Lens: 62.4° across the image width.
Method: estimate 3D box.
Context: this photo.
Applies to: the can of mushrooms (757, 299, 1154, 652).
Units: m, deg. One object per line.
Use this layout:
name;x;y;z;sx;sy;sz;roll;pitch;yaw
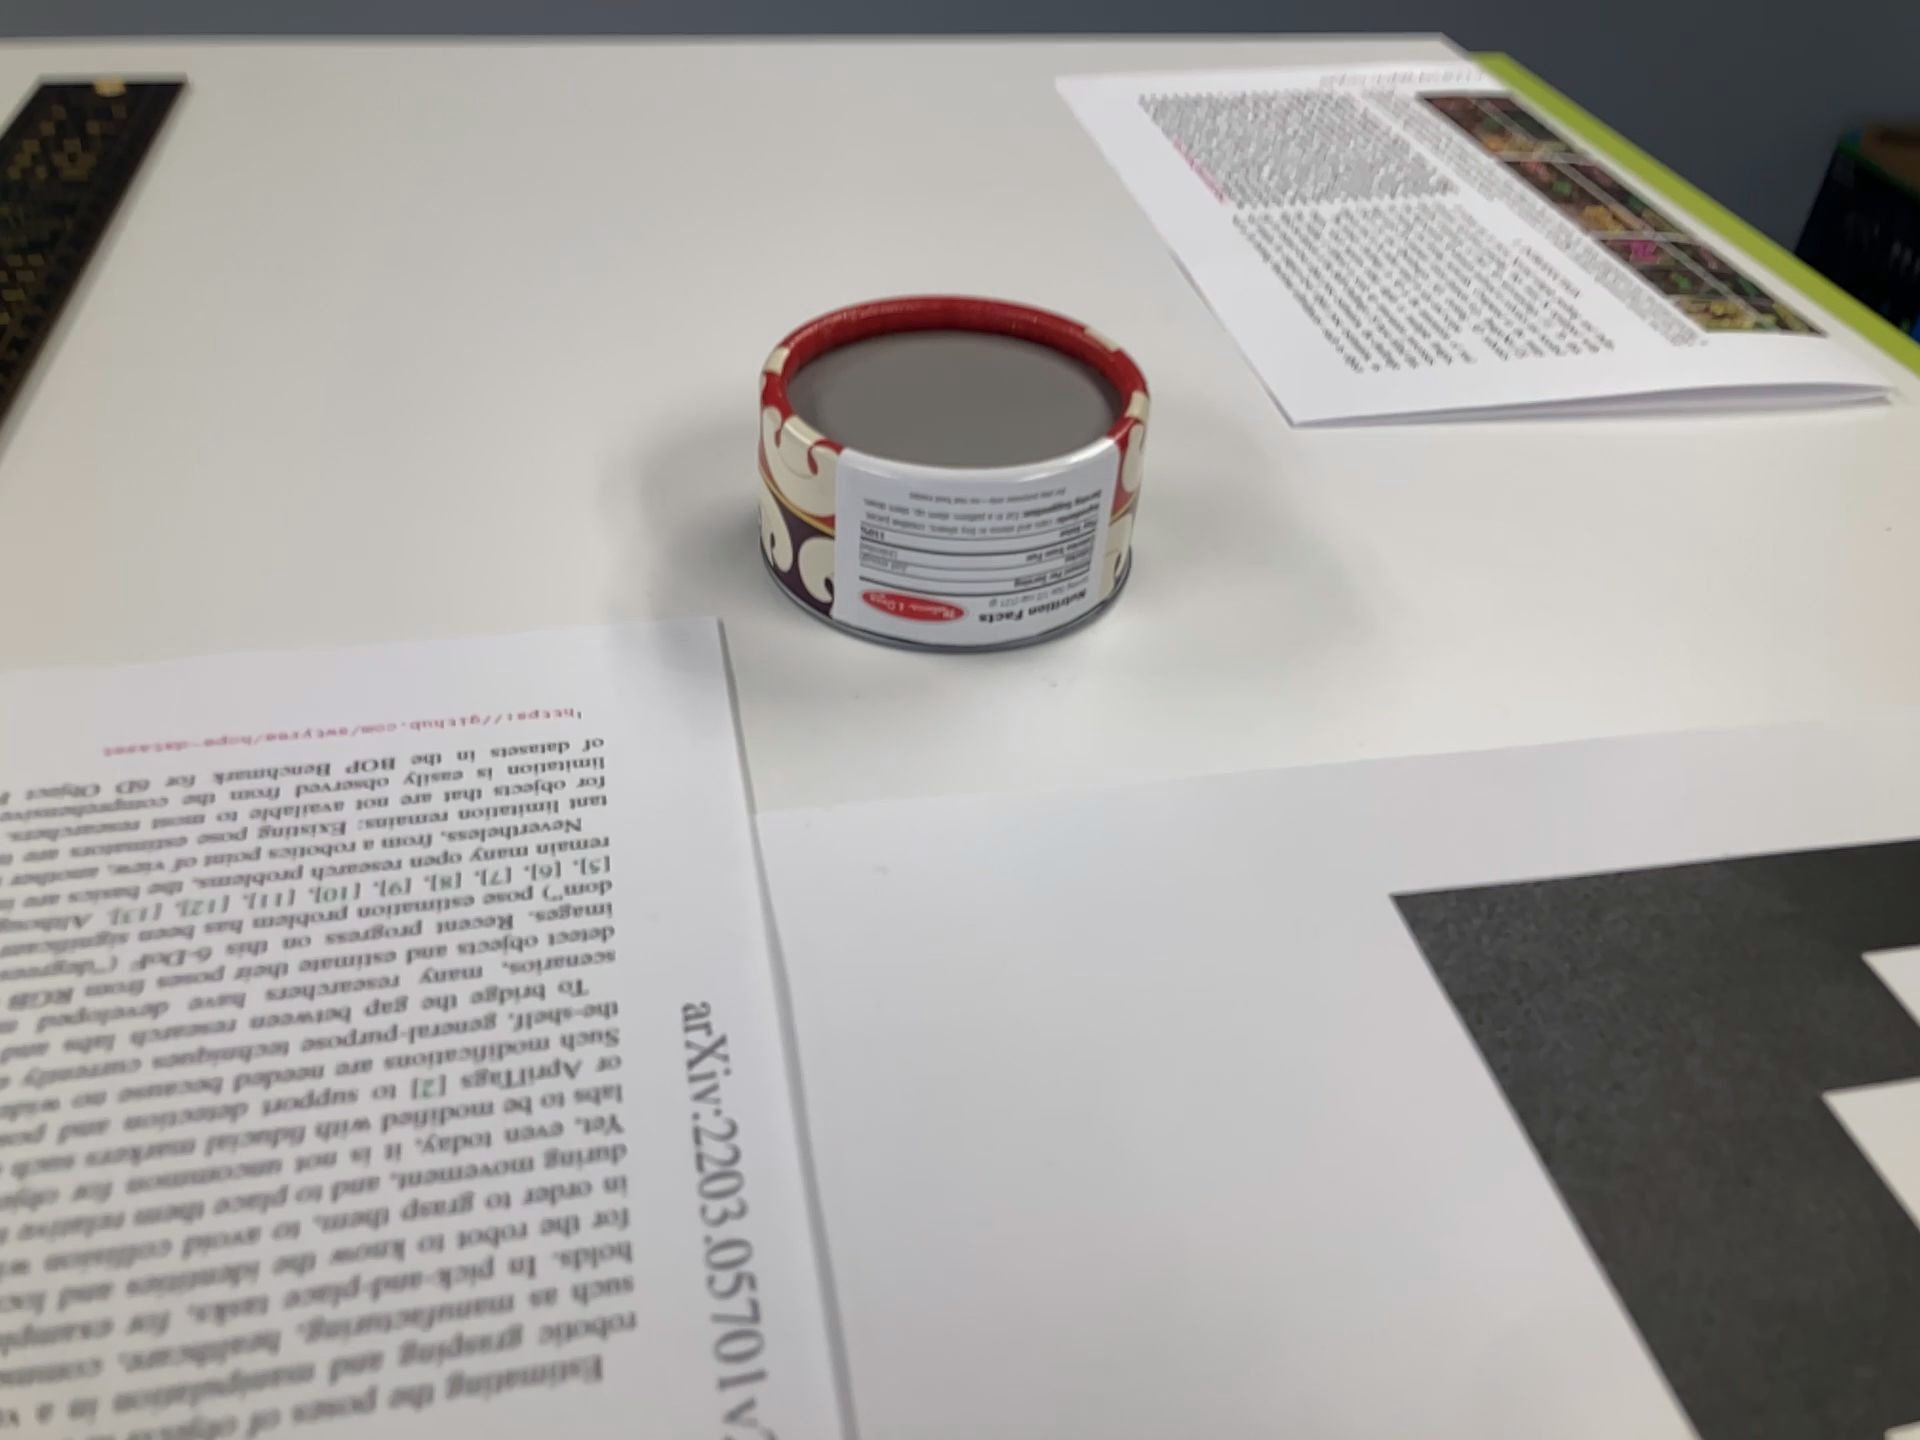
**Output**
can of mushrooms;-0.002;-0.045;0.272;0.071;0.033;0.071;2;38;-1
